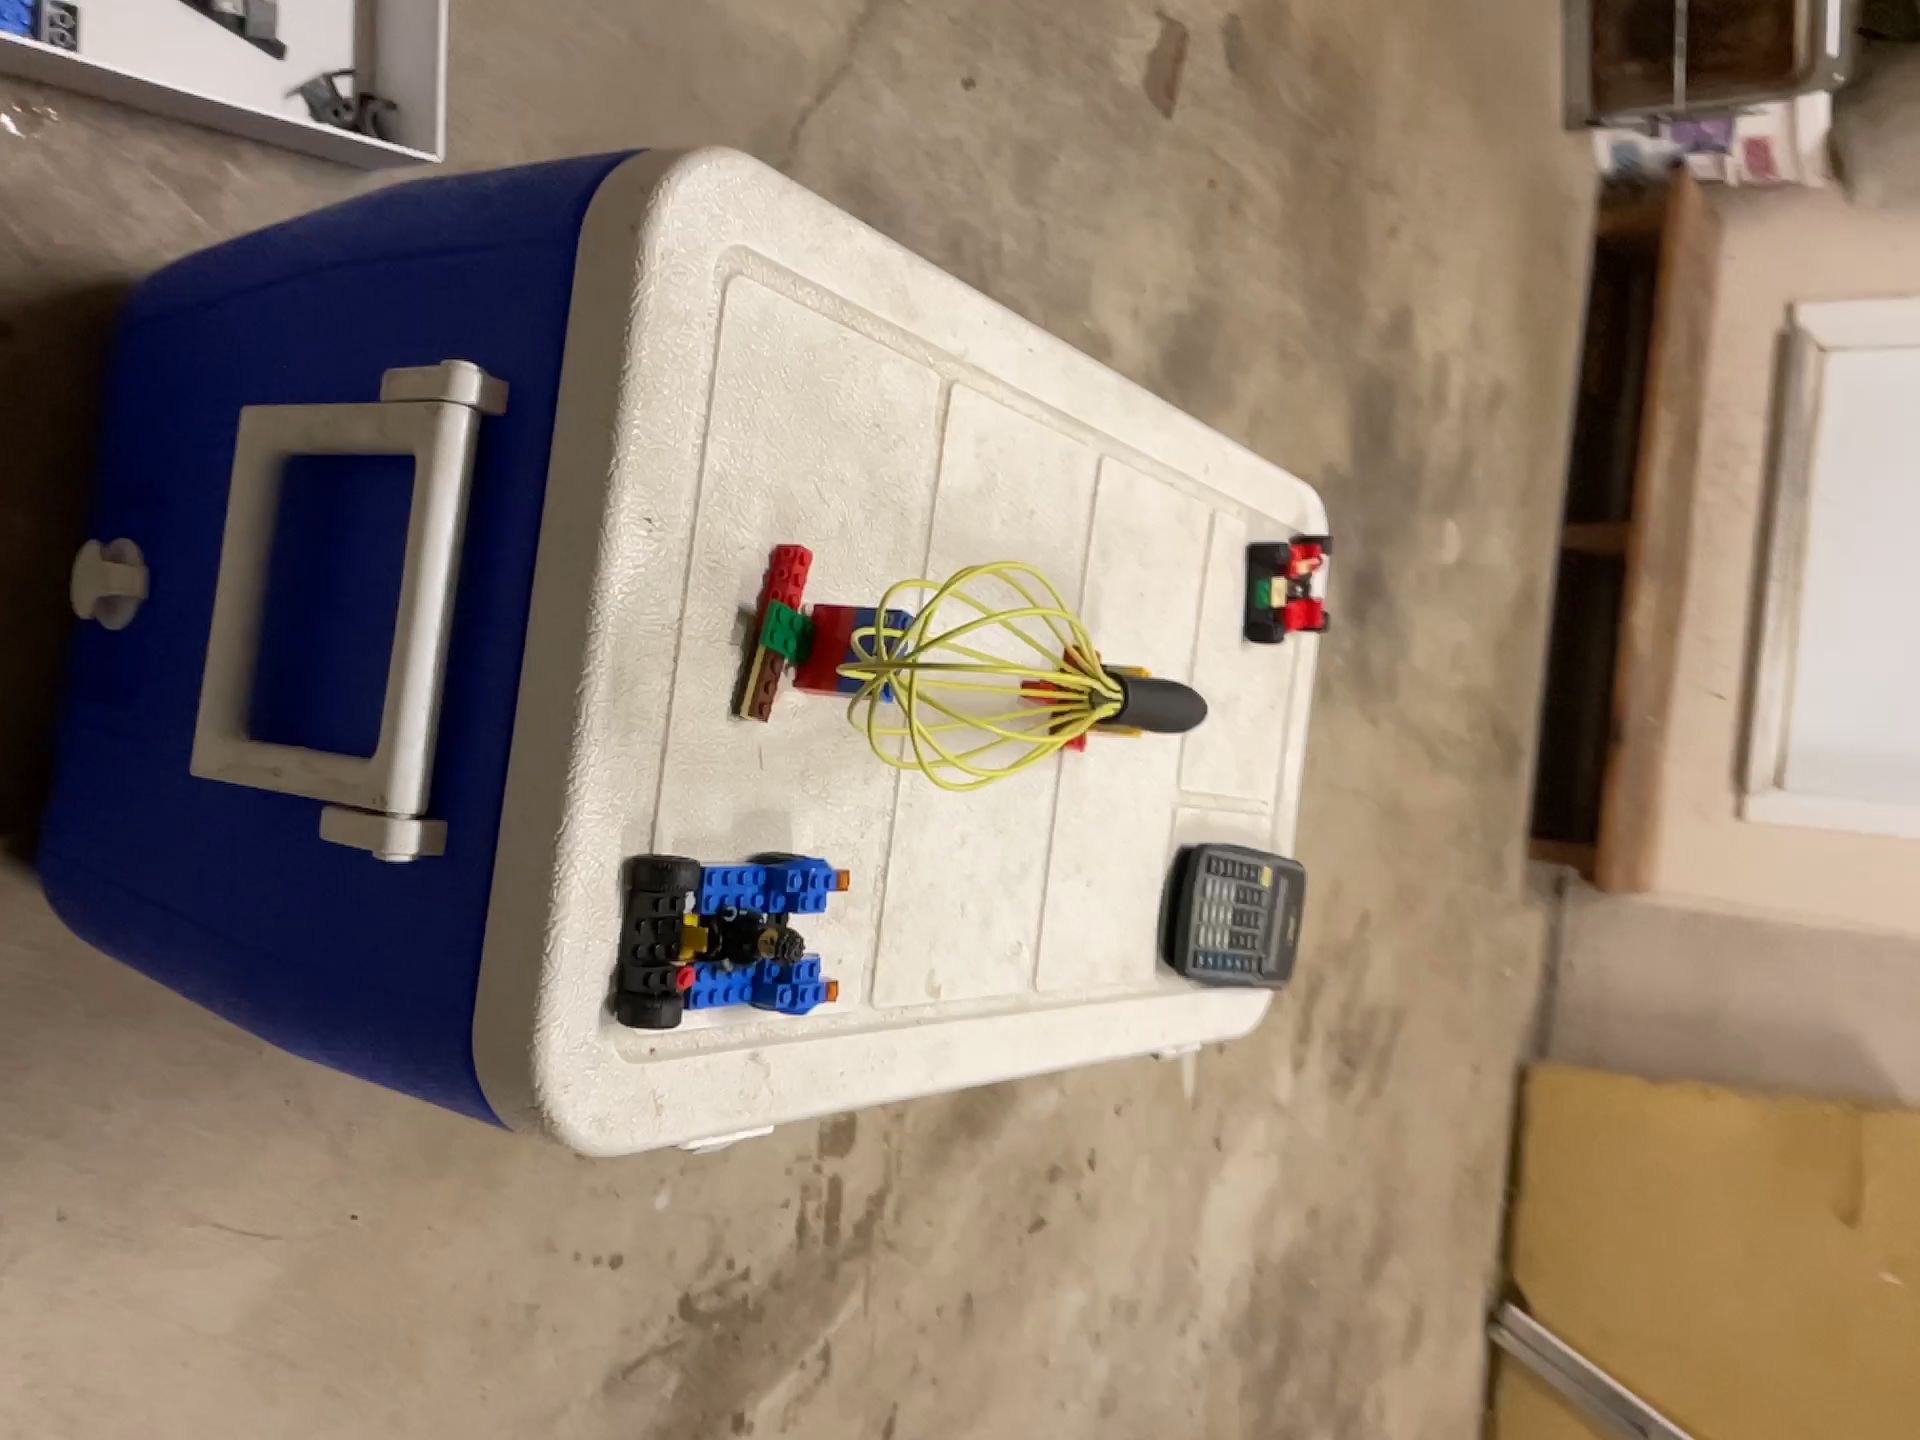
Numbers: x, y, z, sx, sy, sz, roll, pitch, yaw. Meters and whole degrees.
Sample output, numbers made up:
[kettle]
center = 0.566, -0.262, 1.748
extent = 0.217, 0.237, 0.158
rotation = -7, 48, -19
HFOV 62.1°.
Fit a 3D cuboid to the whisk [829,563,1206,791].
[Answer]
[whisk]
center = 0.043, -0.011, 0.609
extent = 0.080, 0.067, 0.311
rotation = -41, 162, 18
